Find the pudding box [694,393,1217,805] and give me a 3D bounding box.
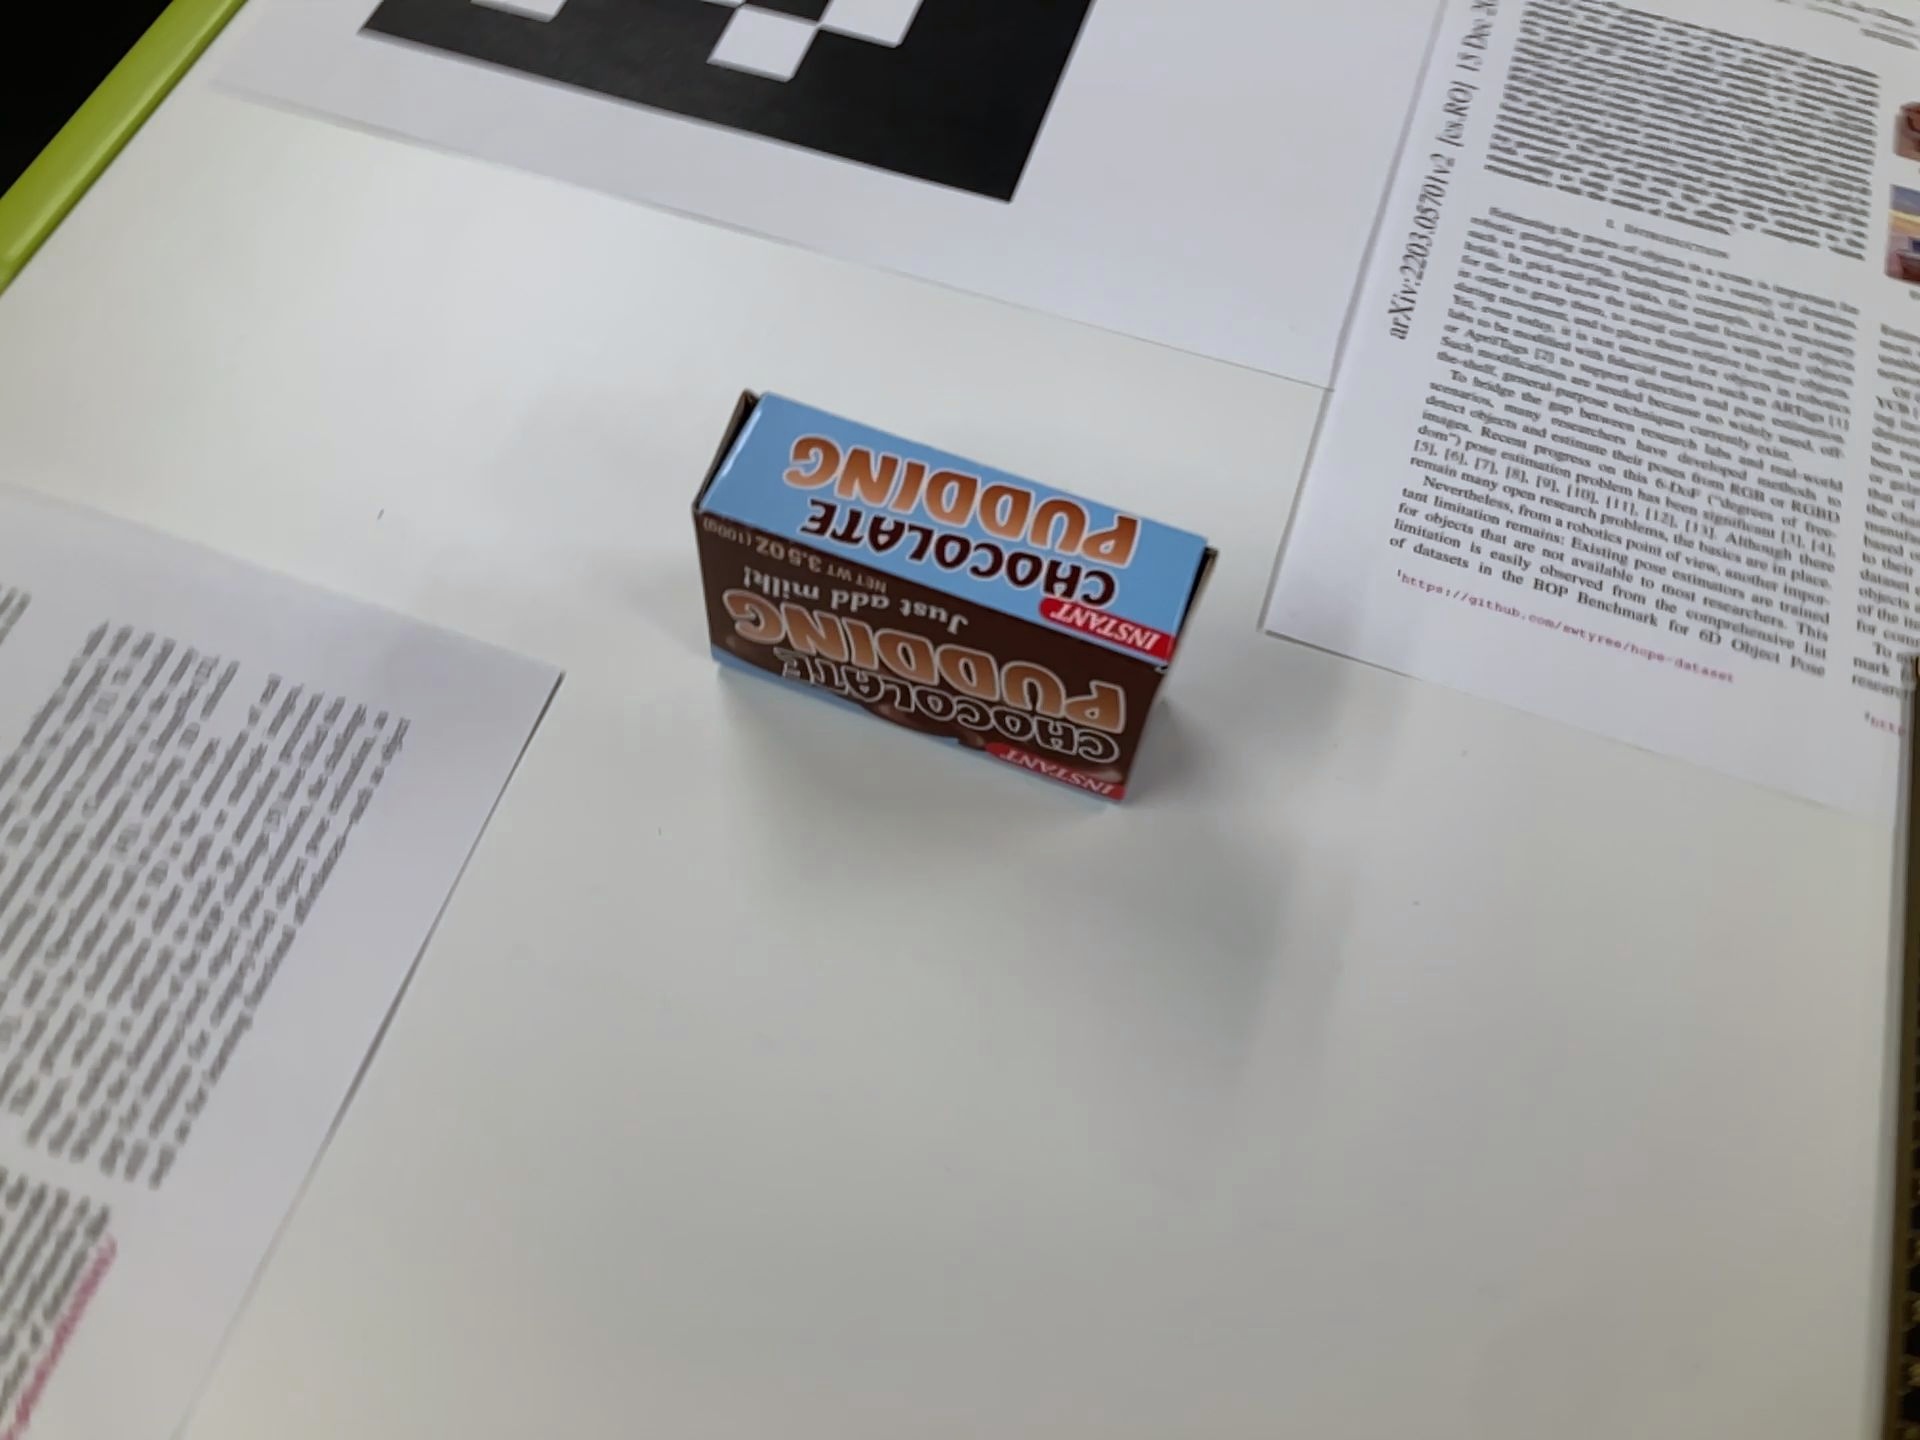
[{"bbox_3d":[-0.002,-0.020,0.280,0.083,0.049,0.030,19,61,7],"label":"pudding box"}]
